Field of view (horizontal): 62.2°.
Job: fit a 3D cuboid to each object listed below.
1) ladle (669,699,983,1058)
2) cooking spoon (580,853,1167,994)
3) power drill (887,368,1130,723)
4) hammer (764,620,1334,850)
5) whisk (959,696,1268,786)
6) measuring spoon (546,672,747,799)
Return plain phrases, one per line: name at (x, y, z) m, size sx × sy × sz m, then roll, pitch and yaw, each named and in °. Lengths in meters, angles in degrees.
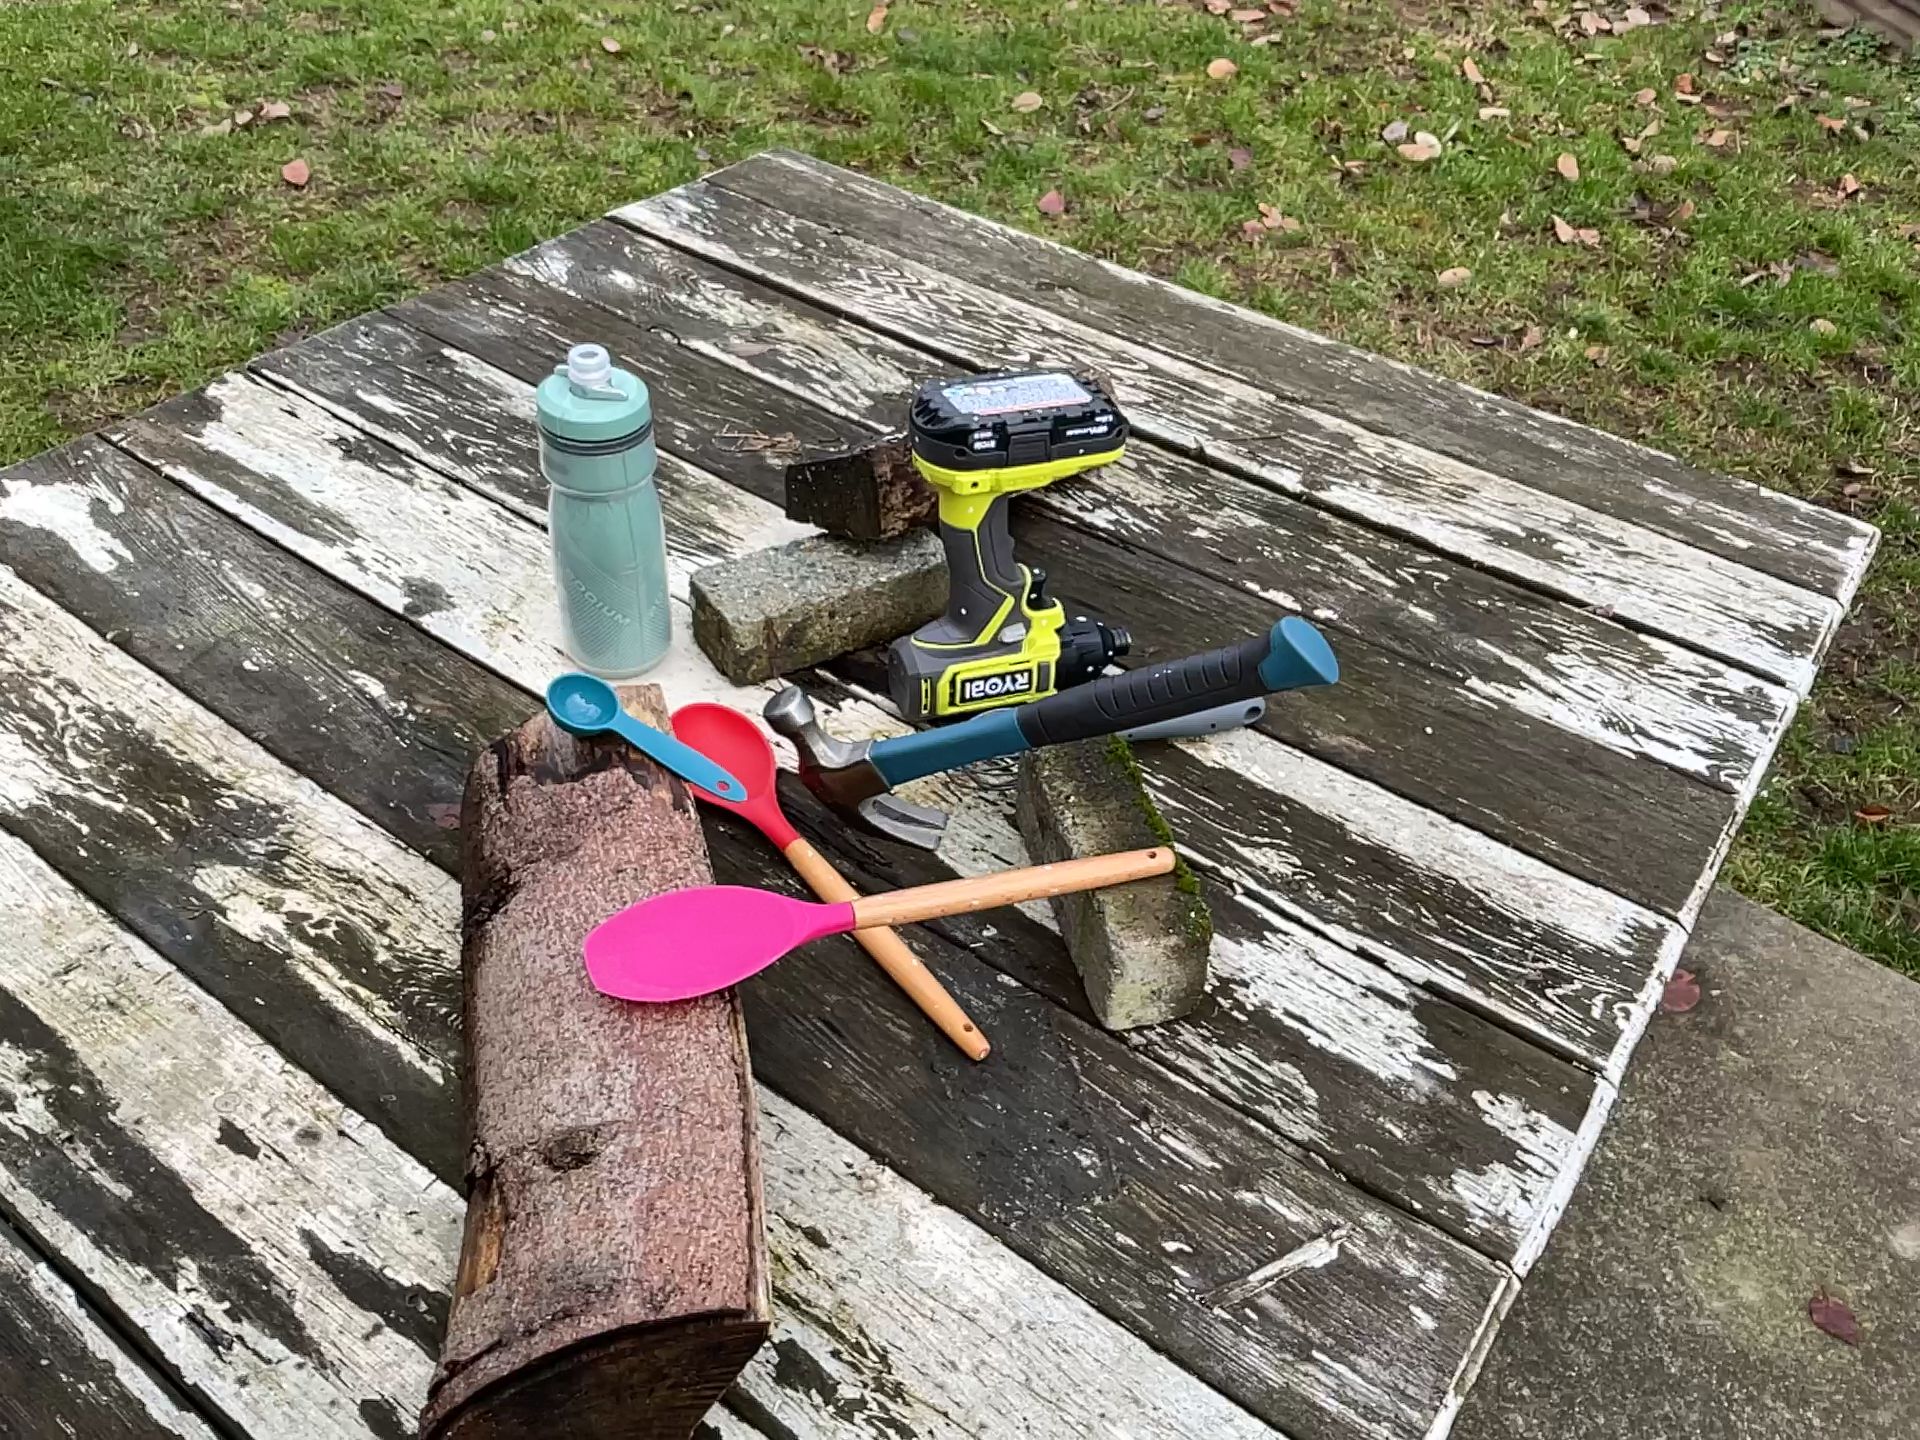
ladle at (-0.085, 0.091, 0.960) m, size 0.069 × 0.031 × 0.316 m, roll -23°, pitch 50°, yaw -31°
cooking spoon at (-0.036, 0.099, 0.832) m, size 0.318 × 0.017 × 0.069 m, roll -7°, pitch 41°, yaw -19°
power drill at (0.040, -0.111, 1.055) m, size 0.171 × 0.223 × 0.080 m, roll -10°, pitch 35°, yaw -19°
hammer at (0.051, 0.001, 0.925) m, size 0.331 × 0.128 × 0.033 m, roll -15°, pitch 35°, yaw 28°
whisk at (0.101, 0.003, 1.055) m, size 0.238 × 0.055 × 0.055 m, roll -10°, pitch 51°, yaw -21°
measuring spoon at (-0.182, 0.016, 0.920) m, size 0.128 × 0.021 × 0.042 m, roll 30°, pitch 42°, yaw -4°
